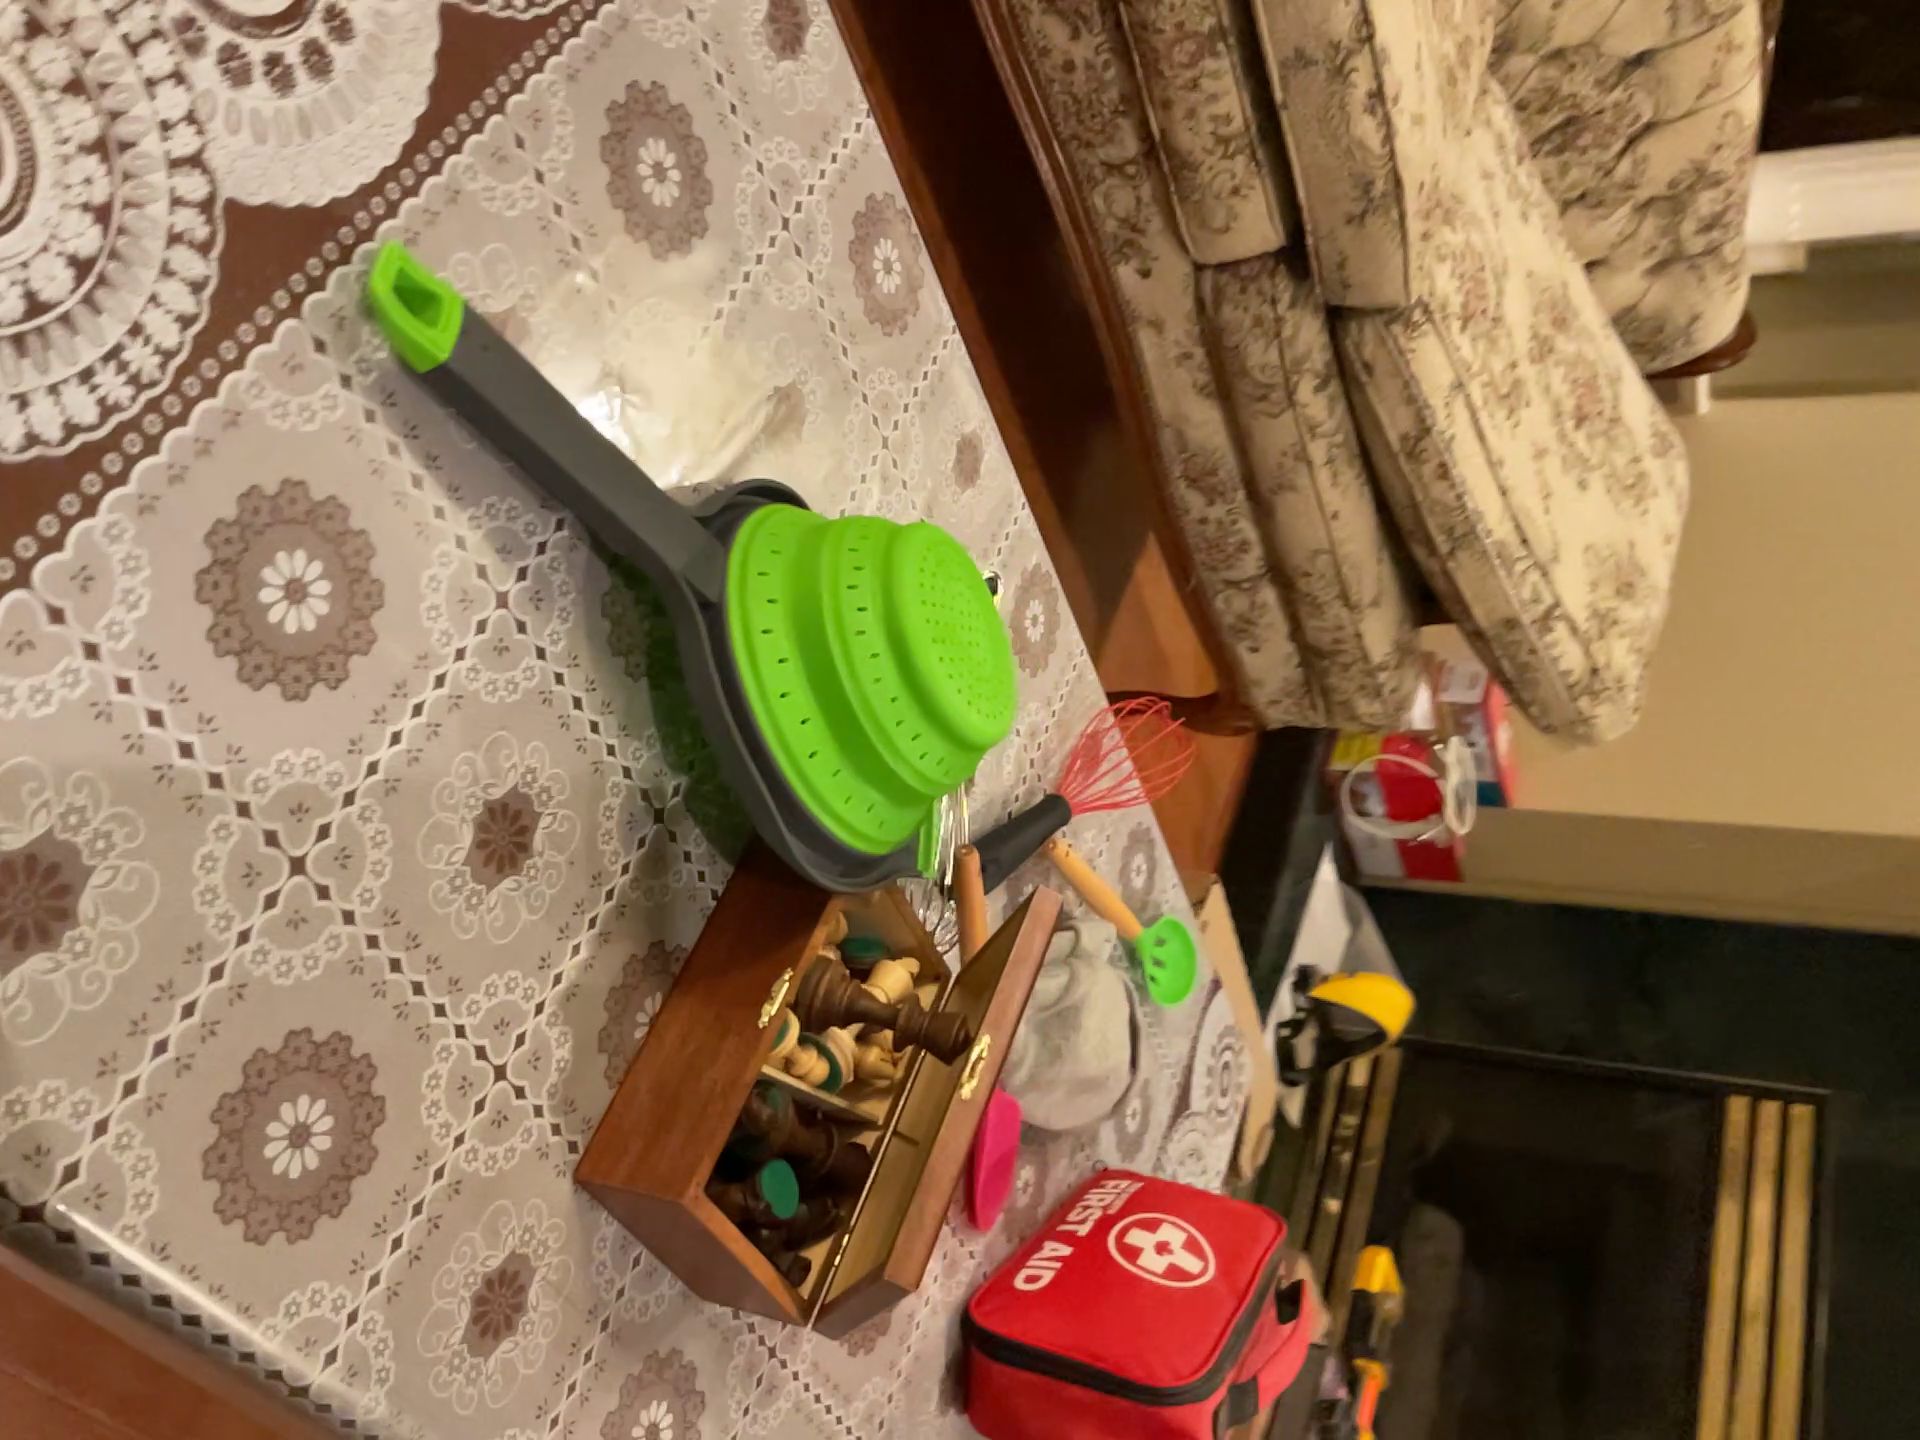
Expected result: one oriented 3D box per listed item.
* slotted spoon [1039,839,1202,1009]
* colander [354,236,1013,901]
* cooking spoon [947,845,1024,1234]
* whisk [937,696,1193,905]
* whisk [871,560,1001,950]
[{"bbox_3d":[0.116,0.142,1.137,0.313,0.031,0.070,45,54,-56],"label":"slotted spoon"},{"bbox_3d":[-0.079,-0.068,0.677,0.396,0.094,0.205,46,33,-44],"label":"colander"},{"bbox_3d":[0.014,0.194,0.933,0.069,0.017,0.318,-57,150,-45],"label":"cooking spoon"},{"bbox_3d":[0.075,0.053,1.051,0.296,0.073,0.073,-31,125,-49],"label":"whisk"},{"bbox_3d":[-0.009,0.019,0.916,0.057,0.059,0.246,133,-29,-67],"label":"whisk"}]
